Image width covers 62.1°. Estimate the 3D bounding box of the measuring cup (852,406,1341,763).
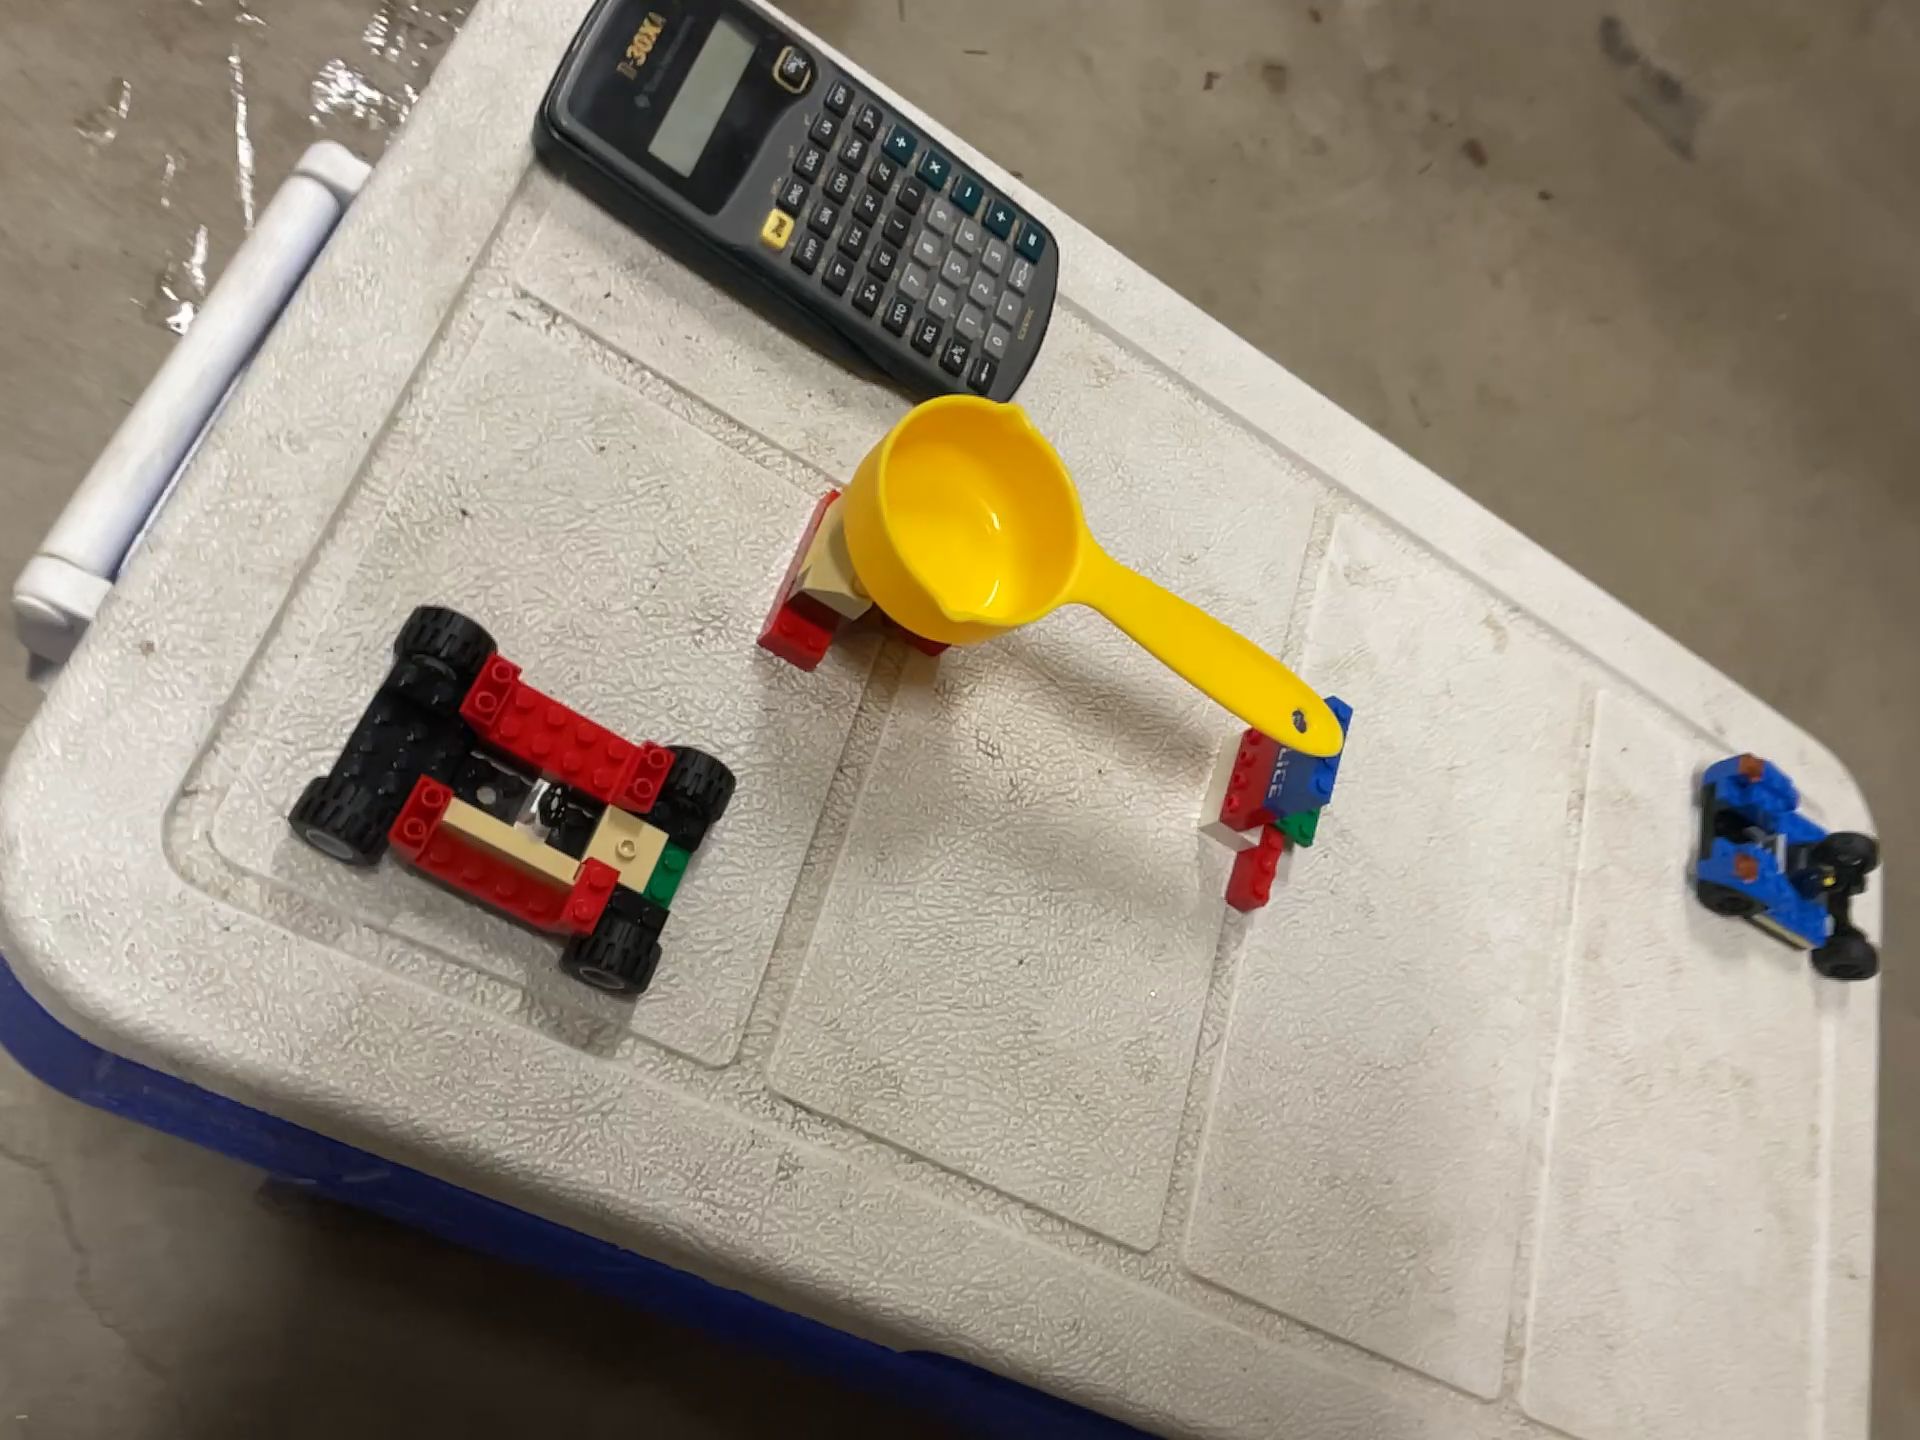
[{"bbox_3d":[0.038,-0.025,0.424,0.156,0.029,0.062,31,61,-24],"label":"measuring cup"}]
